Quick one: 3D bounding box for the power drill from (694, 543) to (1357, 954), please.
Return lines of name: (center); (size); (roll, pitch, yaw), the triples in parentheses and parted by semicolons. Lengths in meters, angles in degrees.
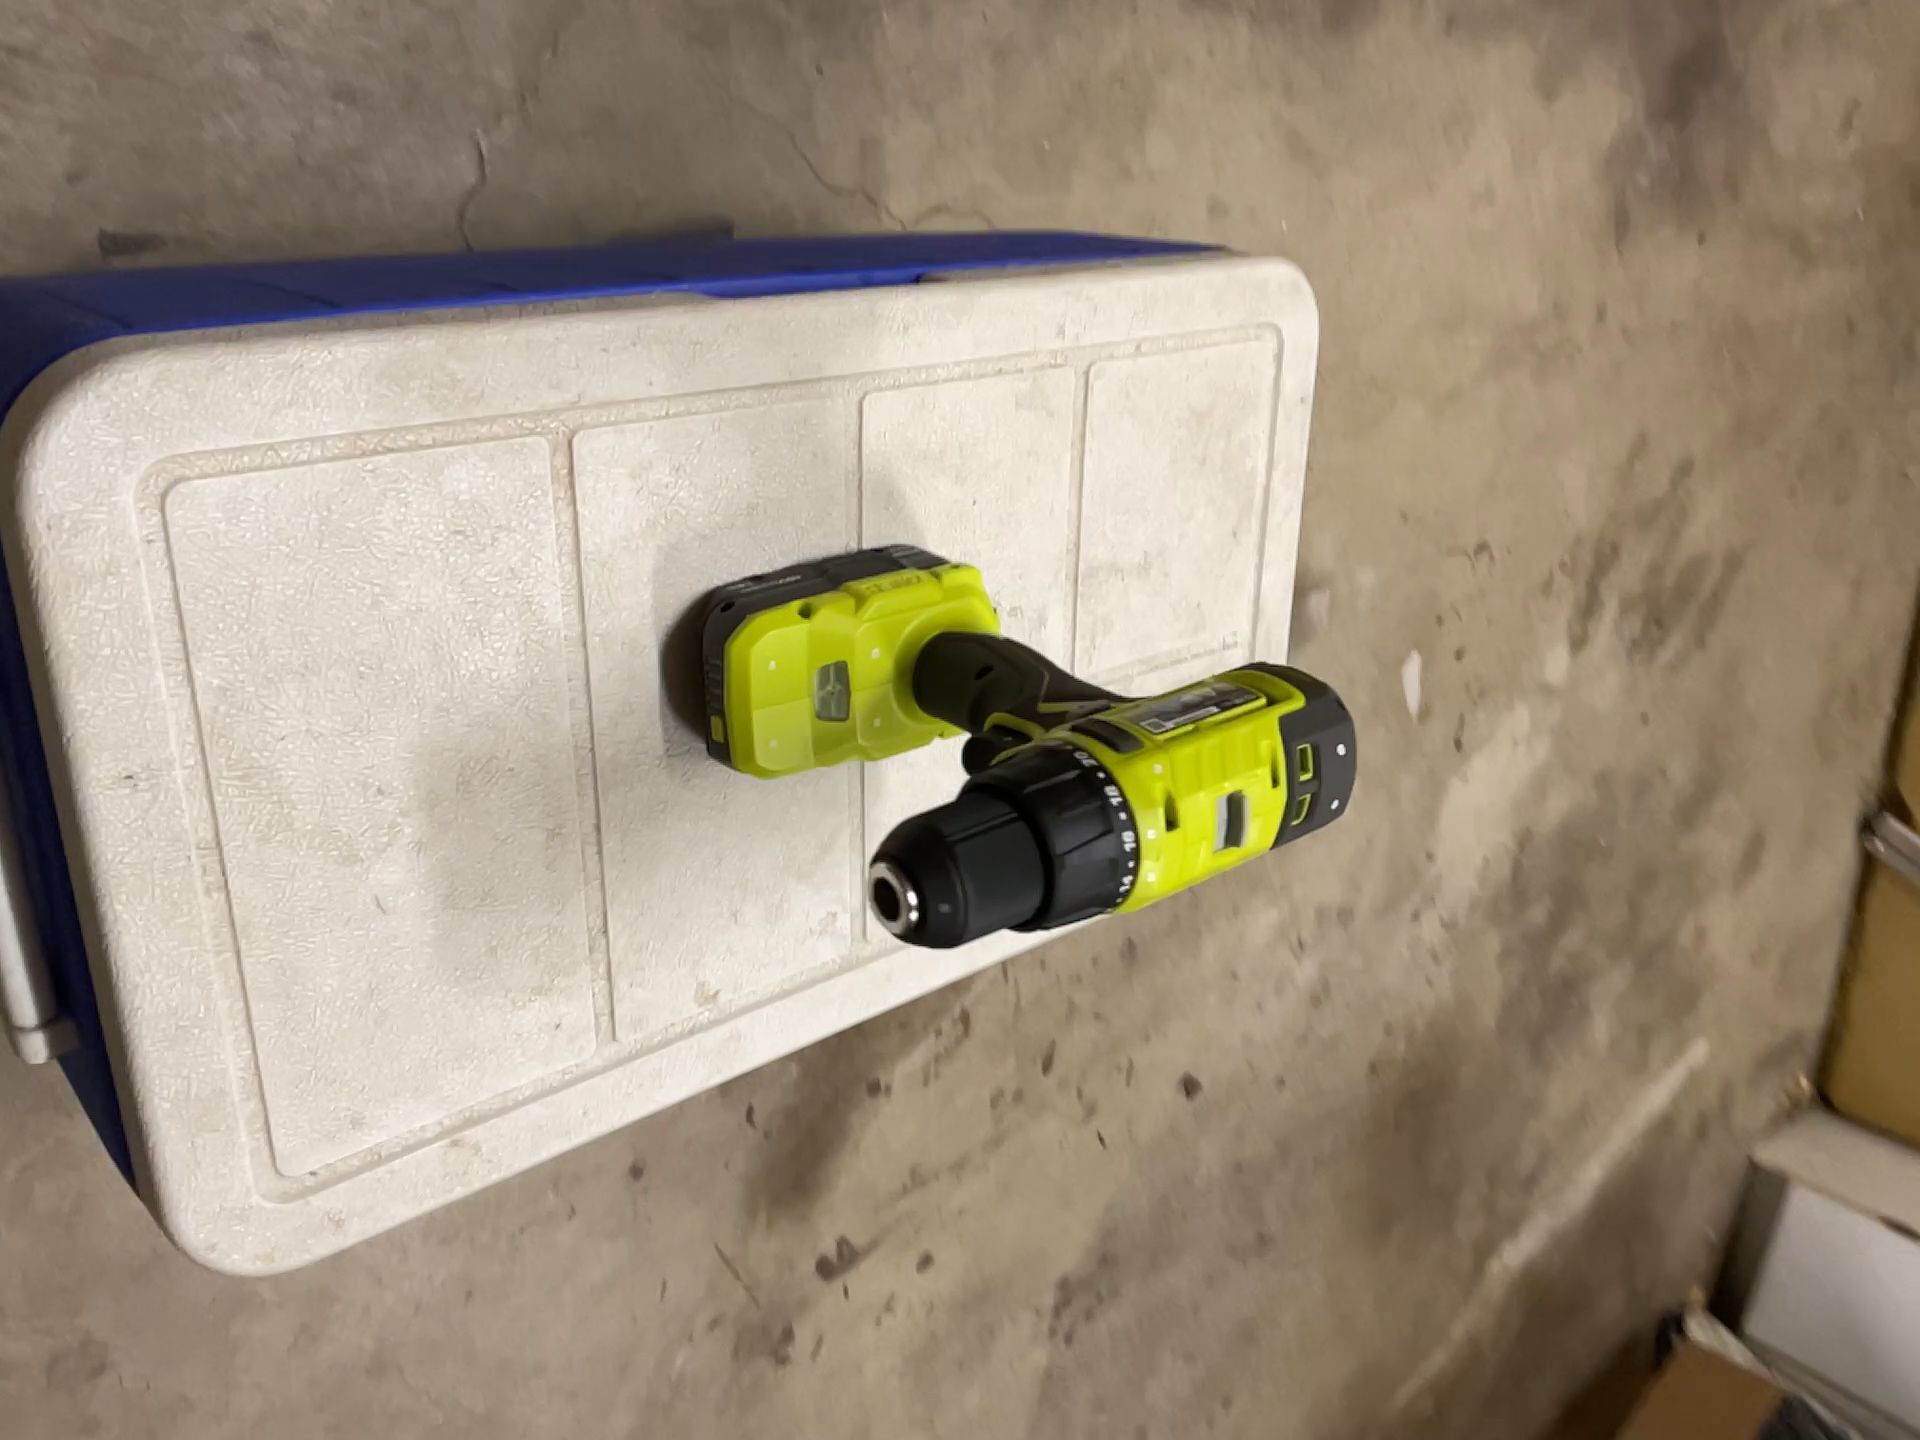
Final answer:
power drill: (0.000, 0.006, 0.577); (0.191, 0.228, 0.080); (-17, 118, -36)
